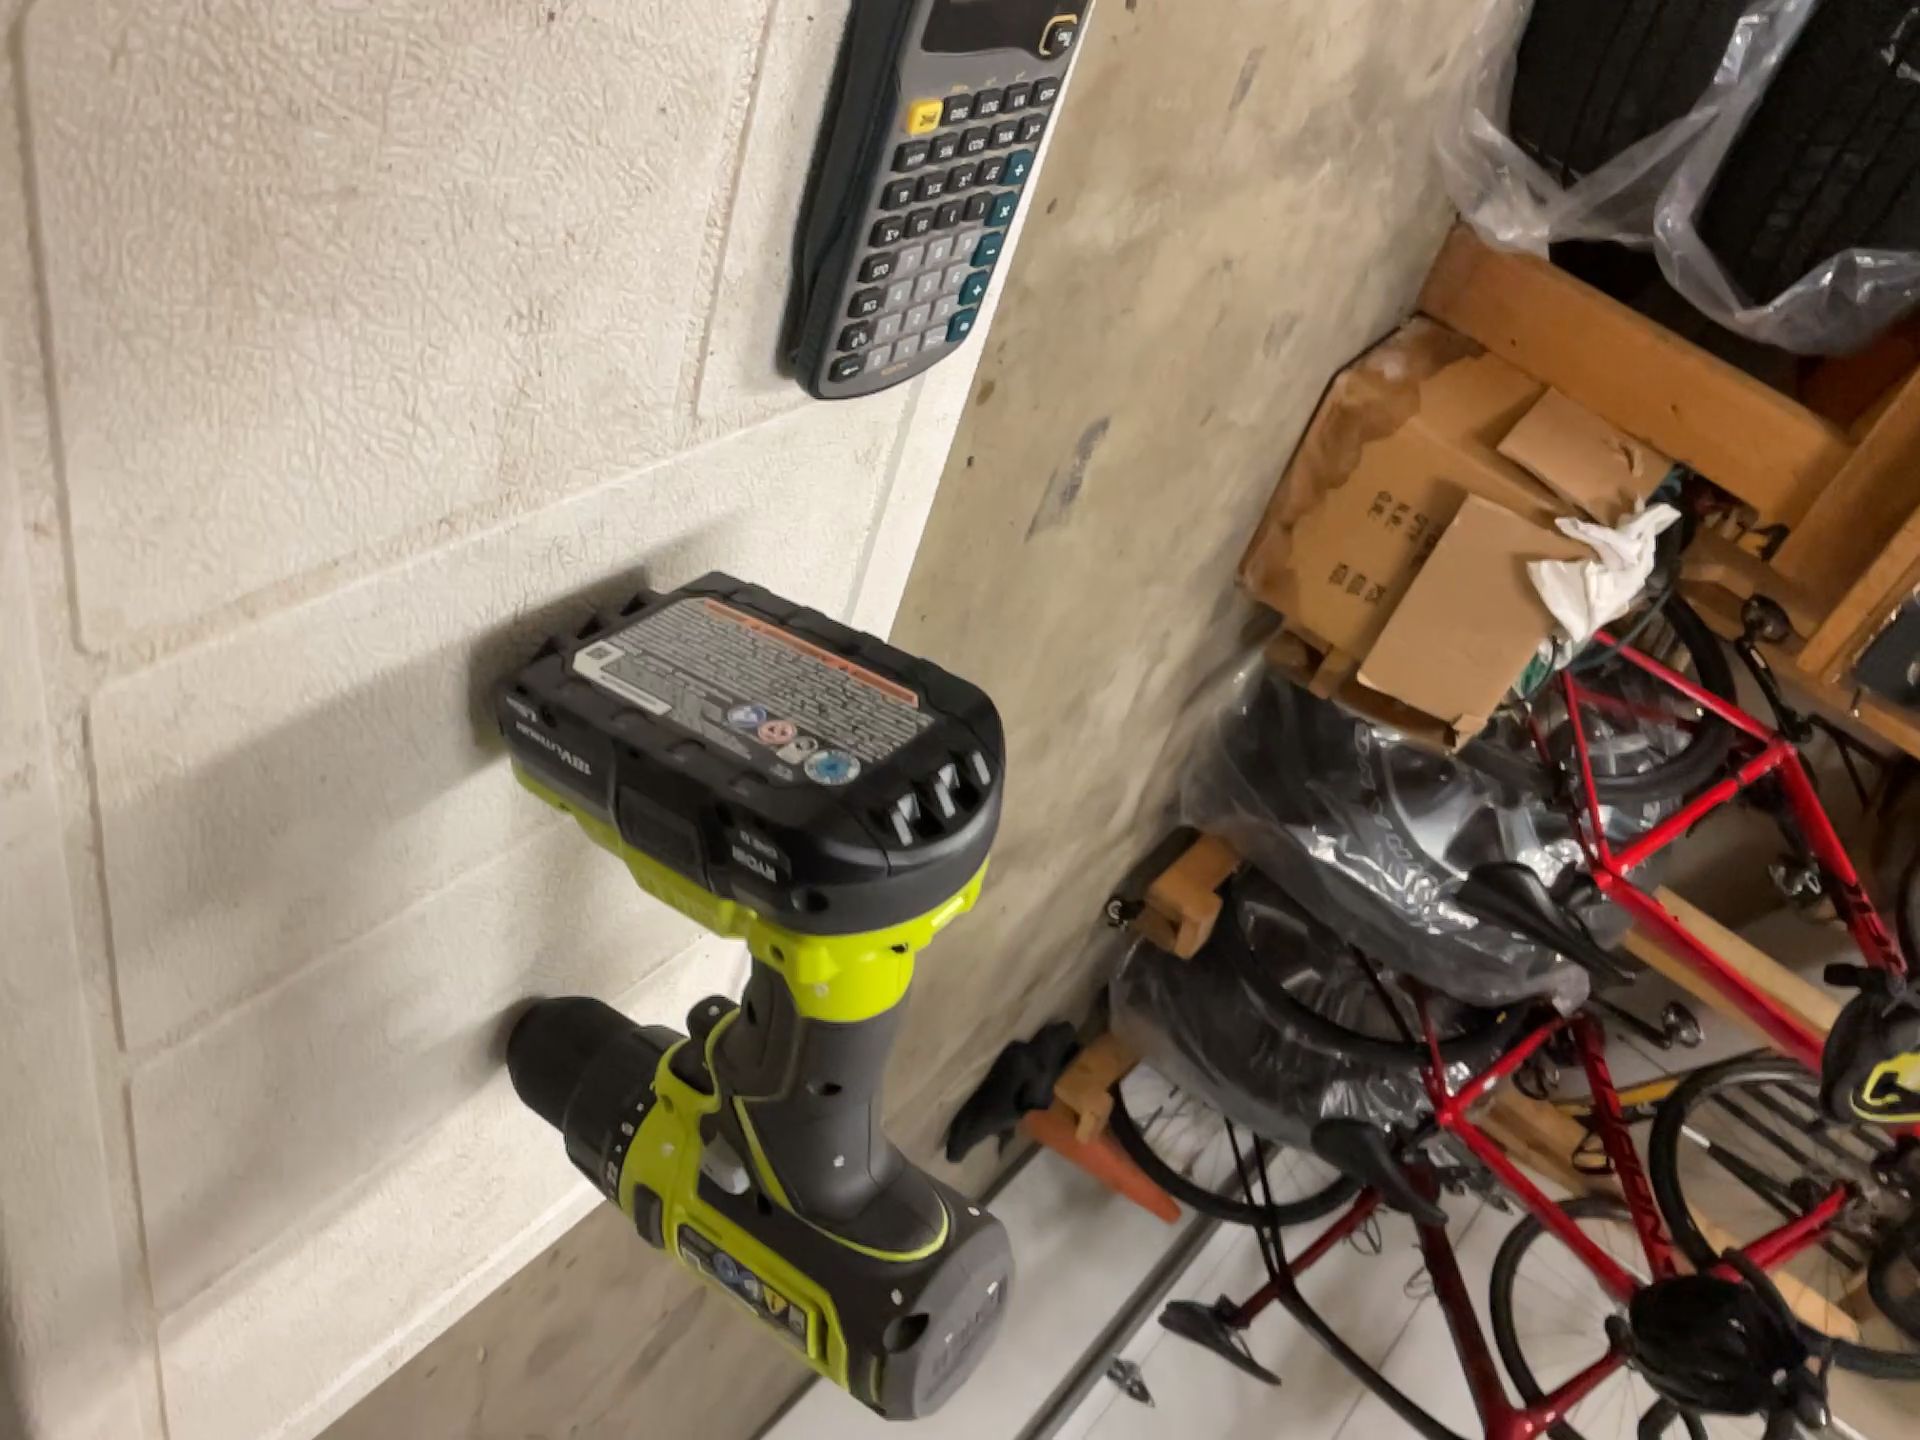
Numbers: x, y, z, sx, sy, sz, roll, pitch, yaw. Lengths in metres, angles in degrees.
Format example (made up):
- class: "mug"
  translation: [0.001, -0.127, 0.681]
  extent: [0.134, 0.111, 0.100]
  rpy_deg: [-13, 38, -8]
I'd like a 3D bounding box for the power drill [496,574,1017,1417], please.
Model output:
- class: "power drill"
  translation: [-0.070, 0.080, 0.470]
  extent: [0.080, 0.190, 0.228]
  rpy_deg: [-36, 141, -42]
